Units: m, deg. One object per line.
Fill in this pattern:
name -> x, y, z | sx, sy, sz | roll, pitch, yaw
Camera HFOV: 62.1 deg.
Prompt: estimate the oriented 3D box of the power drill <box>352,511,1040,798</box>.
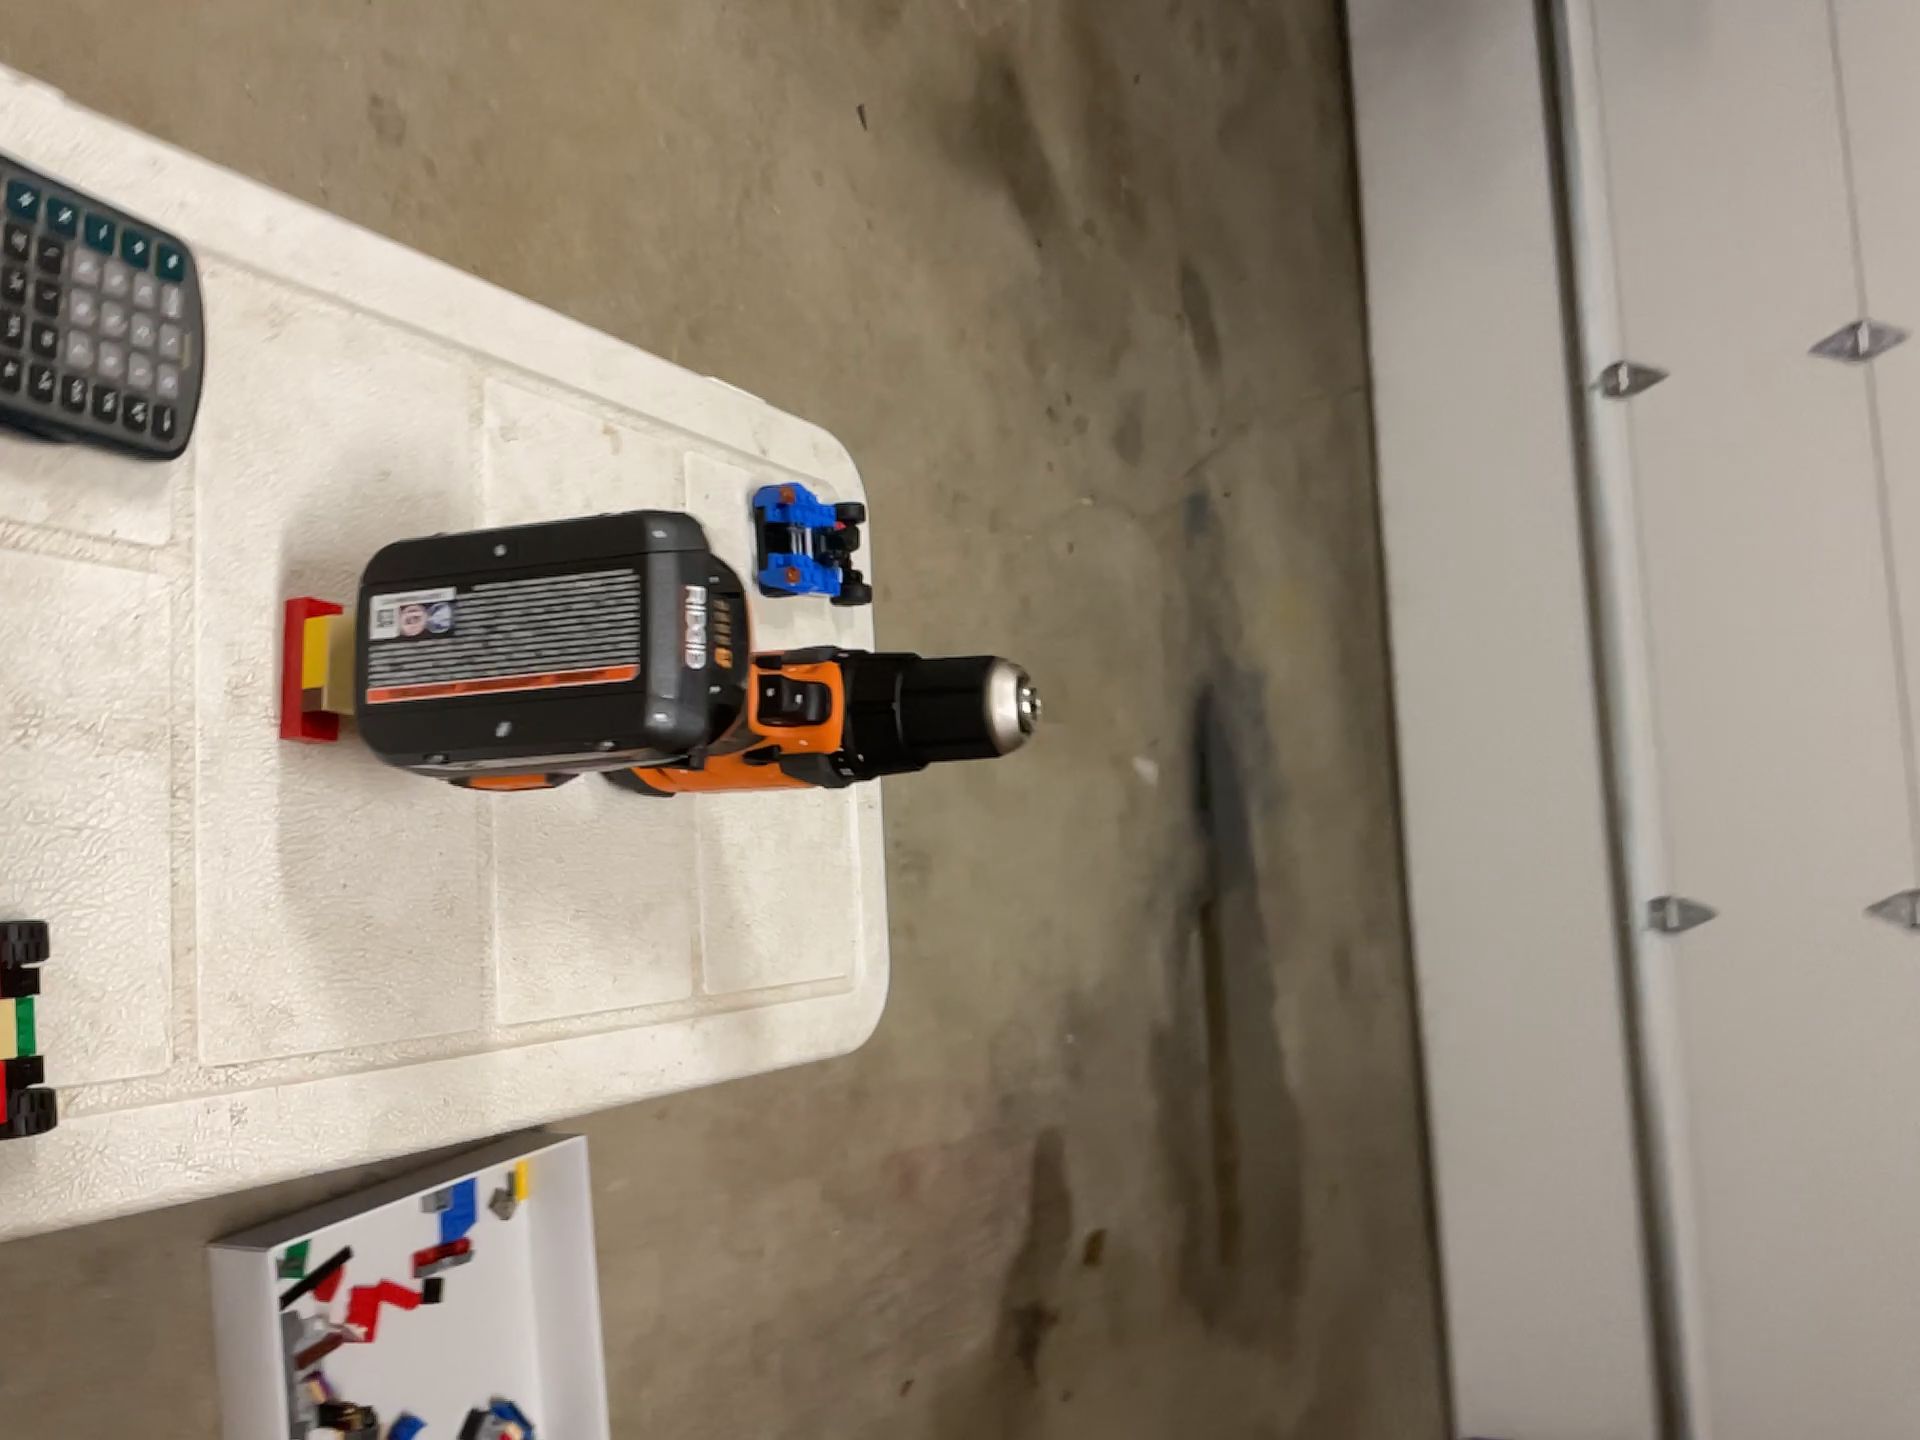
power drill -> -0.083, -0.012, 0.588 | 0.226, 0.185, 0.084 | 25, 63, -70
